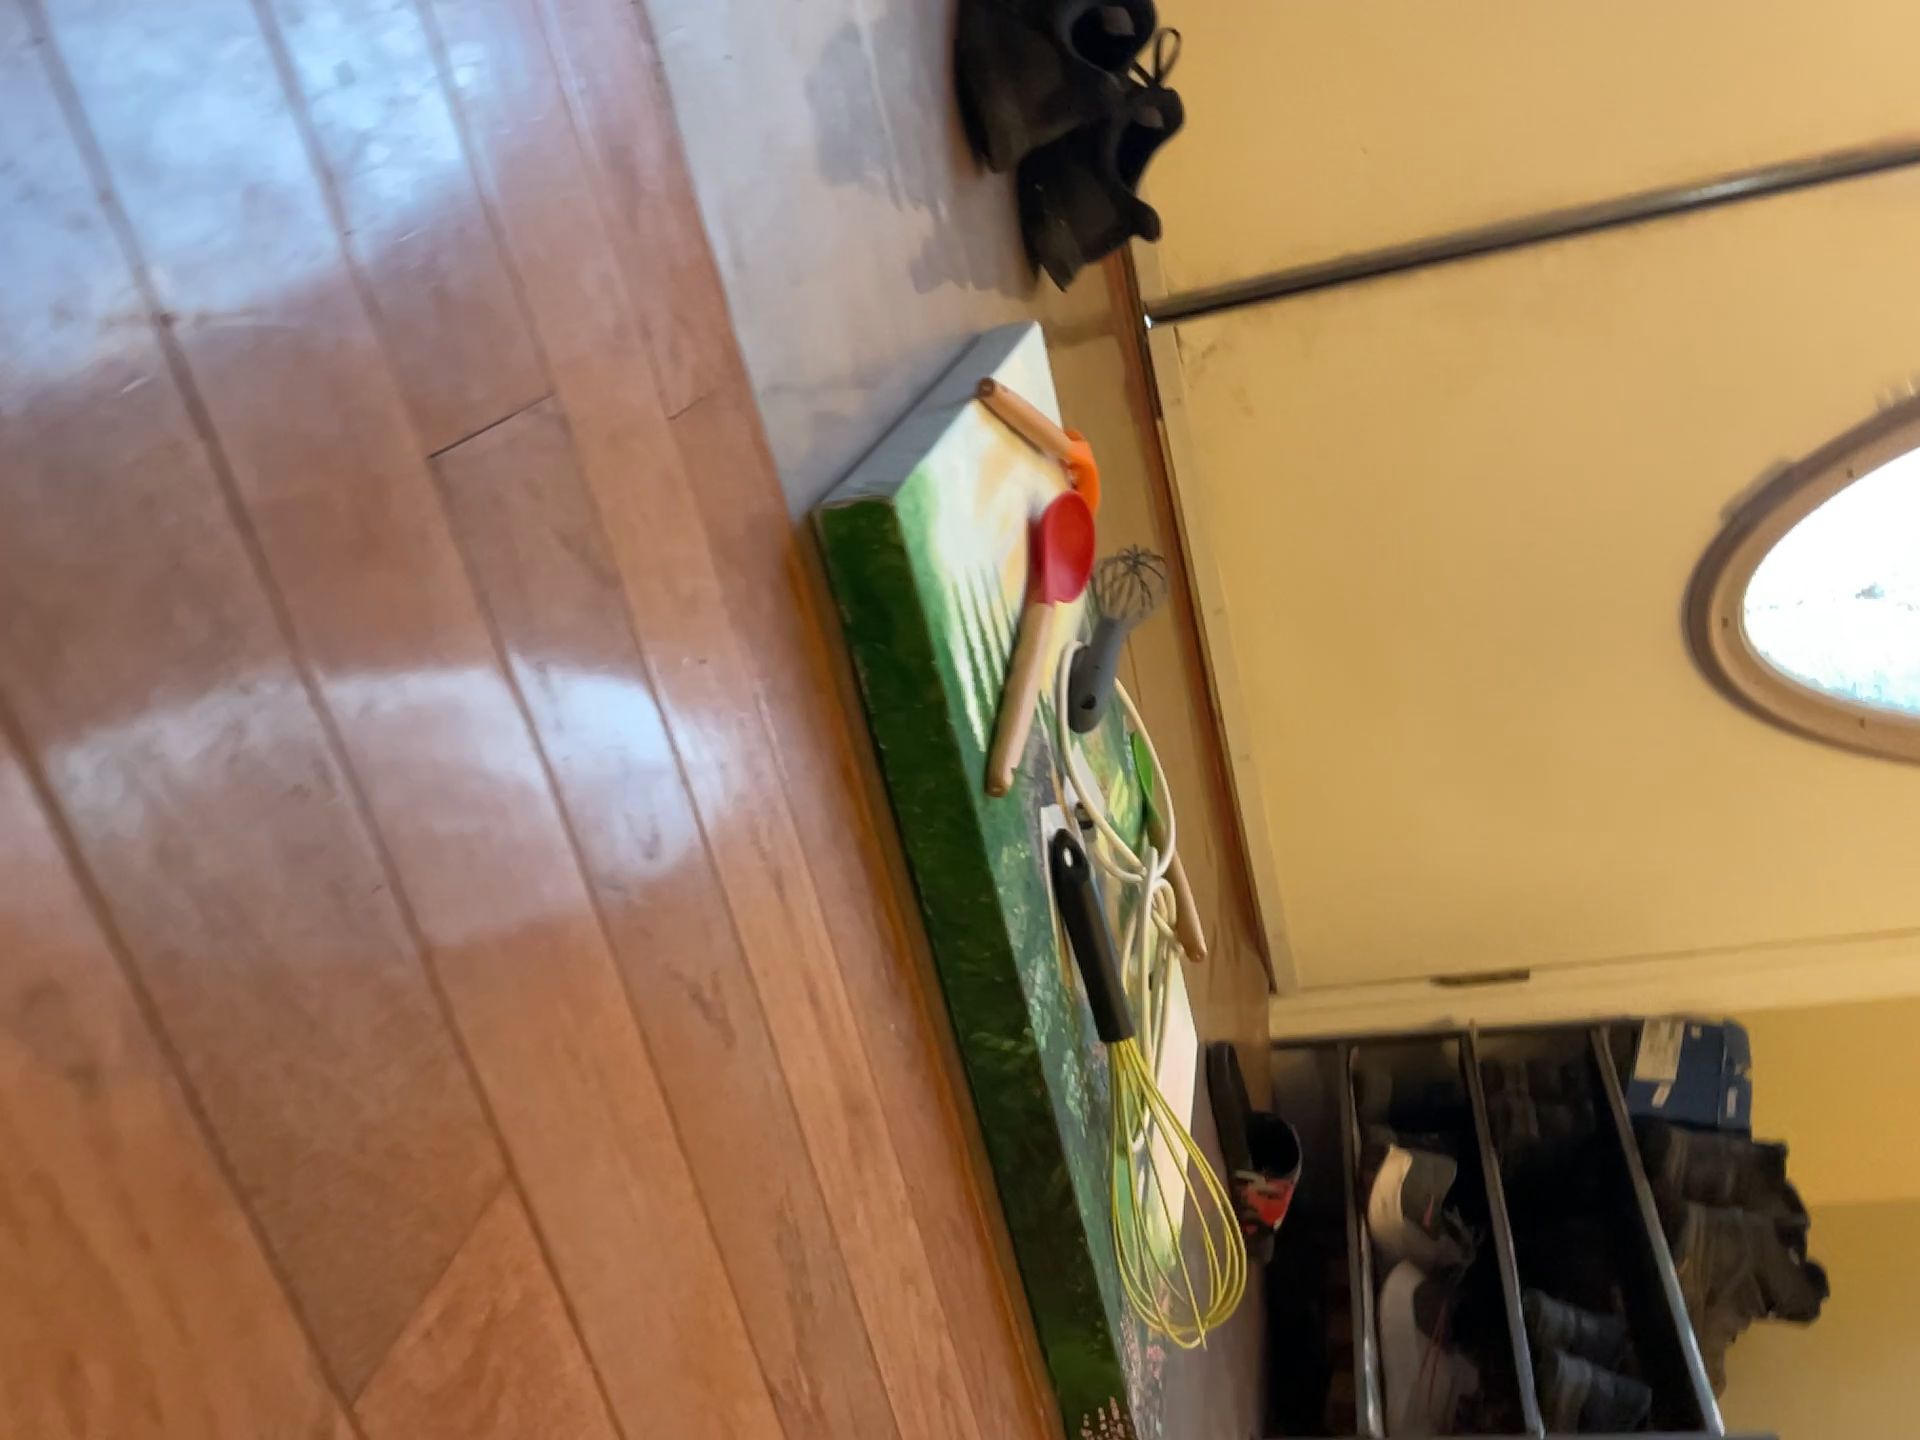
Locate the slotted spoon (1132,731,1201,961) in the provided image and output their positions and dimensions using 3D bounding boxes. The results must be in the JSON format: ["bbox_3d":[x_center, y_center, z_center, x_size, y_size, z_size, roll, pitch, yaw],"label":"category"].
[{"bbox_3d":[0.152,0.092,1.205,0.314,0.031,0.070,-93,169,-66],"label":"slotted spoon"}]

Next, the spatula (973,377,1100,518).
[{"bbox_3d":[0.053,-0.182,1.050,0.322,0.041,0.081,3,68,-73],"label":"spatula"}]

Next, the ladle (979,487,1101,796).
[{"bbox_3d":[0.046,-0.050,0.921,0.316,0.031,0.069,-70,147,-55],"label":"ladle"}]

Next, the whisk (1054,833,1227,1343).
[{"bbox_3d":[0.098,0.217,0.933,0.080,0.067,0.311,-28,104,-79],"label":"whisk"}]

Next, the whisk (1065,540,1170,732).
[{"bbox_3d":[0.107,-0.060,1.113,0.055,0.055,0.239,63,28,-24],"label":"whisk"}]
